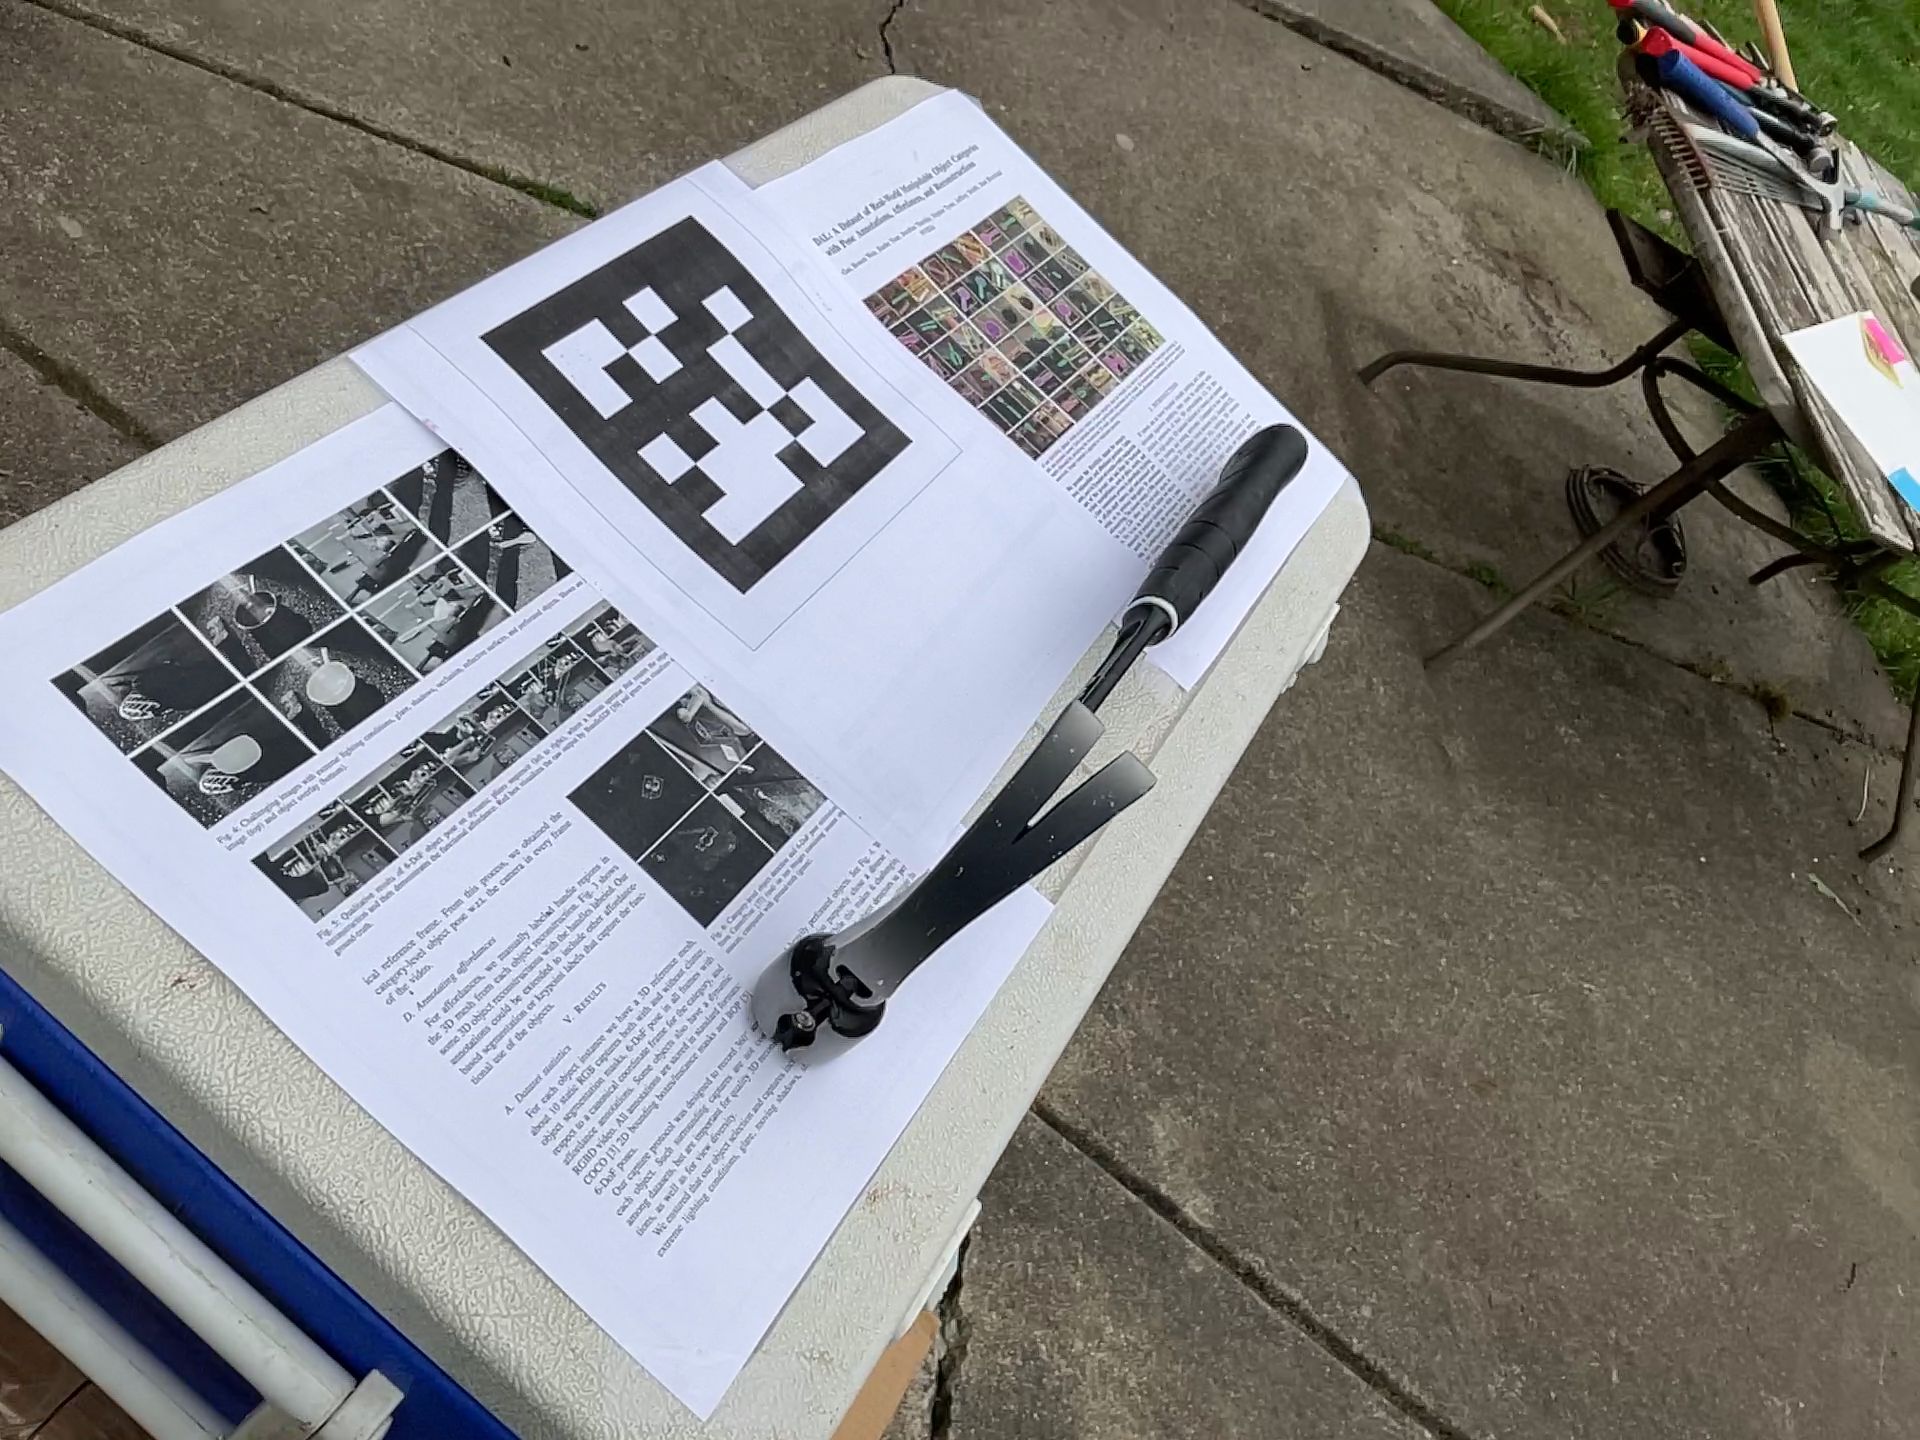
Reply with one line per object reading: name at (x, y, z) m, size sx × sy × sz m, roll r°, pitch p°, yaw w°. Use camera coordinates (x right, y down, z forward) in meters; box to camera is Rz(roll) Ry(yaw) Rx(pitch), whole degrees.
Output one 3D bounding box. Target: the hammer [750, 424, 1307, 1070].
hammer at (0.067, -0.033, 0.596) m, size 0.036 × 0.149 × 0.409 m, roll 45°, pitch 38°, yaw -3°
